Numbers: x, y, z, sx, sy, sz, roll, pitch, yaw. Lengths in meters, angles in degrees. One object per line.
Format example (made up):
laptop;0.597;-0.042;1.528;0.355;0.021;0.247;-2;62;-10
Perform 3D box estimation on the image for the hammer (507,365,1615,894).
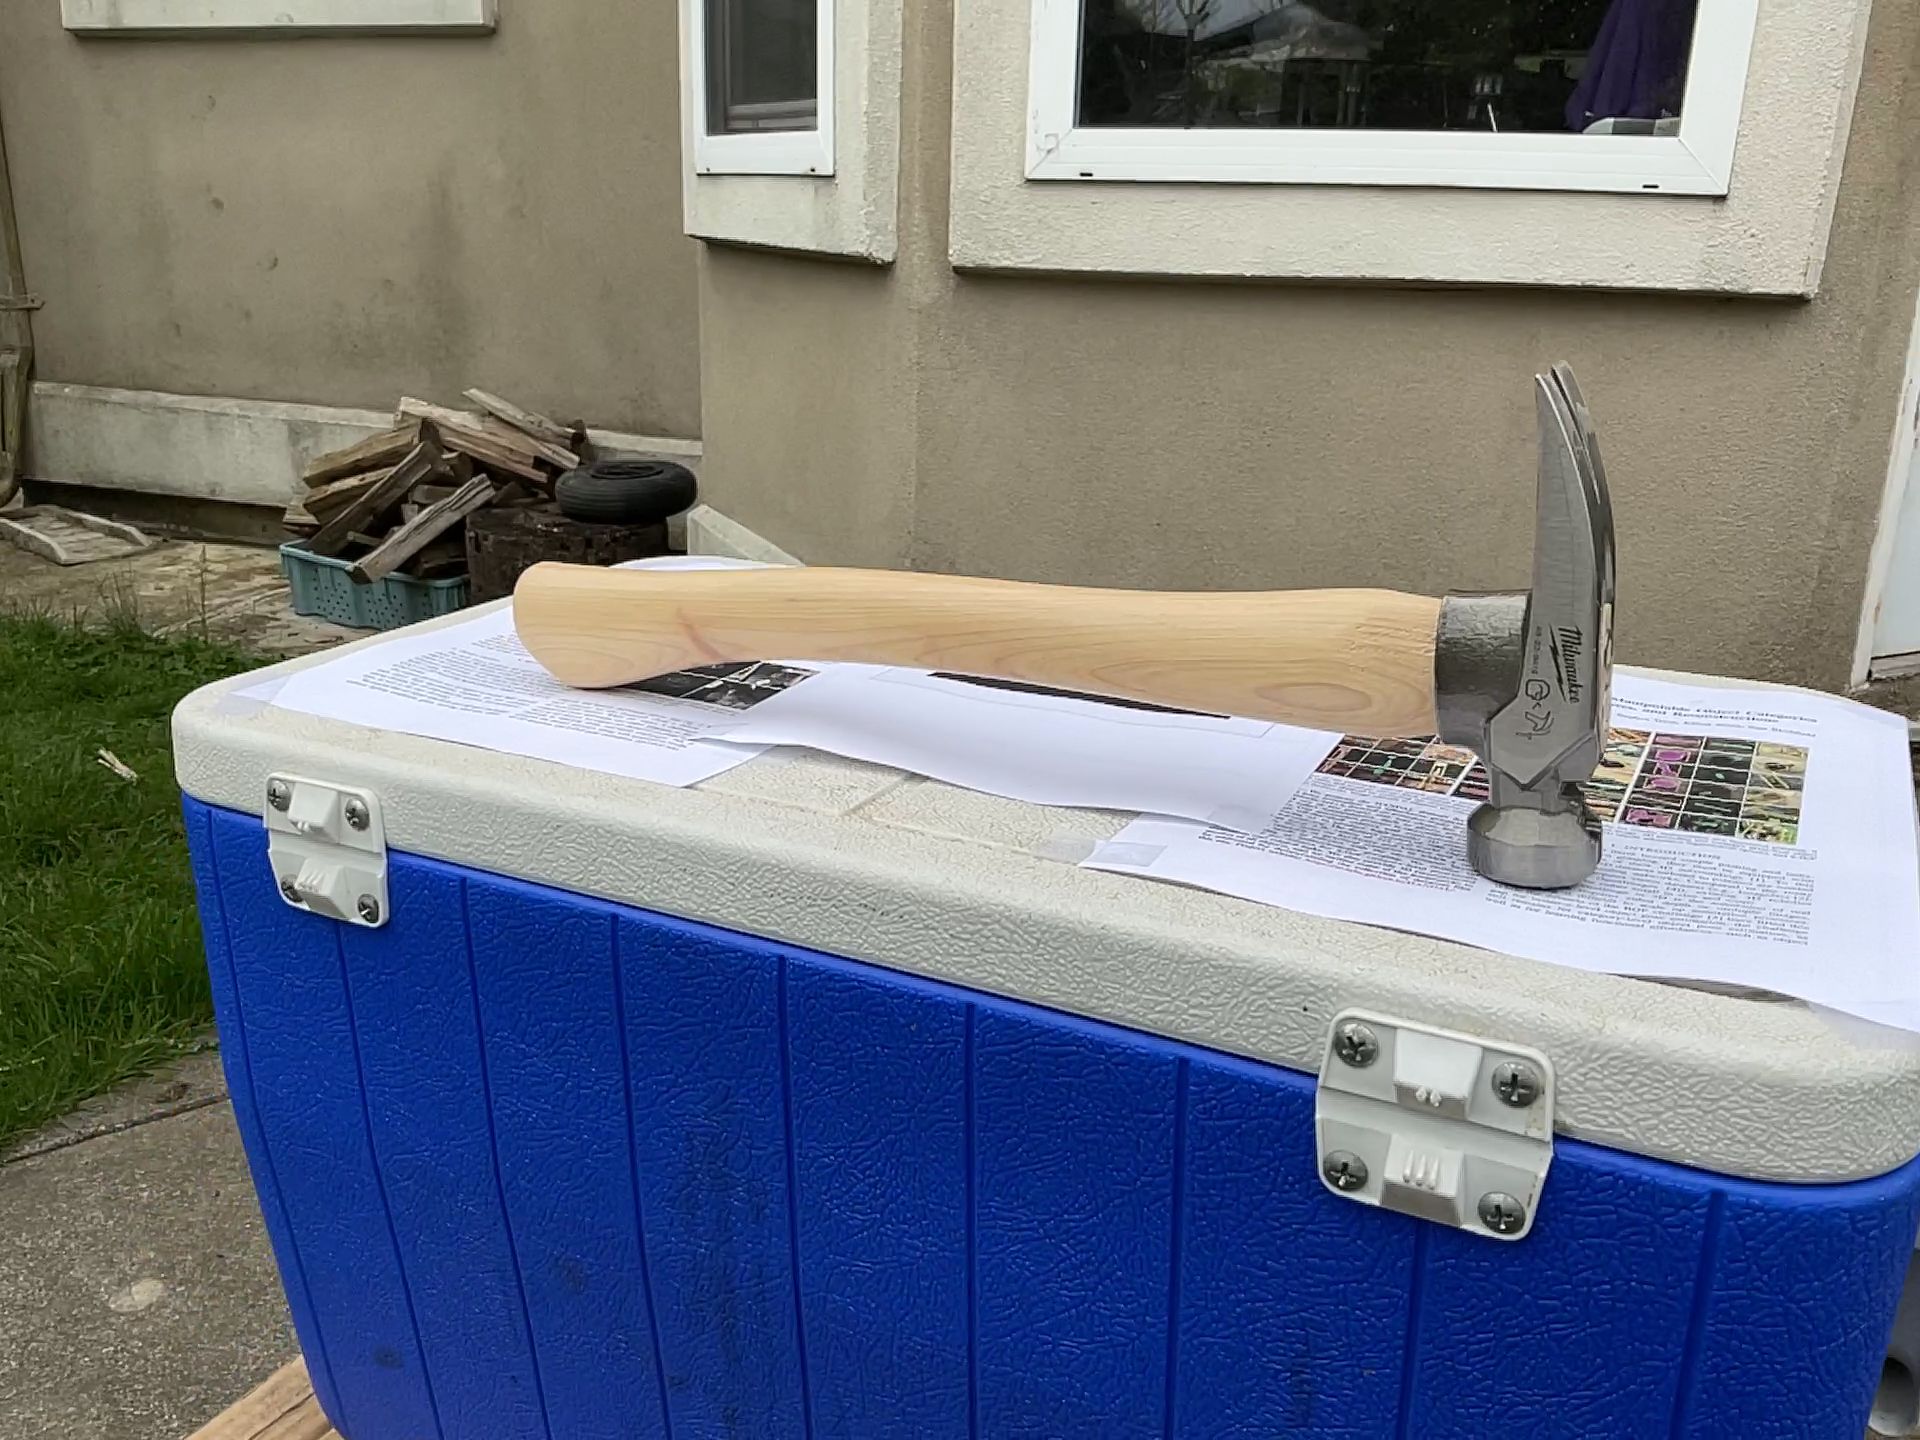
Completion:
hammer;0.002;-0.039;0.543;0.411;0.146;0.038;5;19;30
